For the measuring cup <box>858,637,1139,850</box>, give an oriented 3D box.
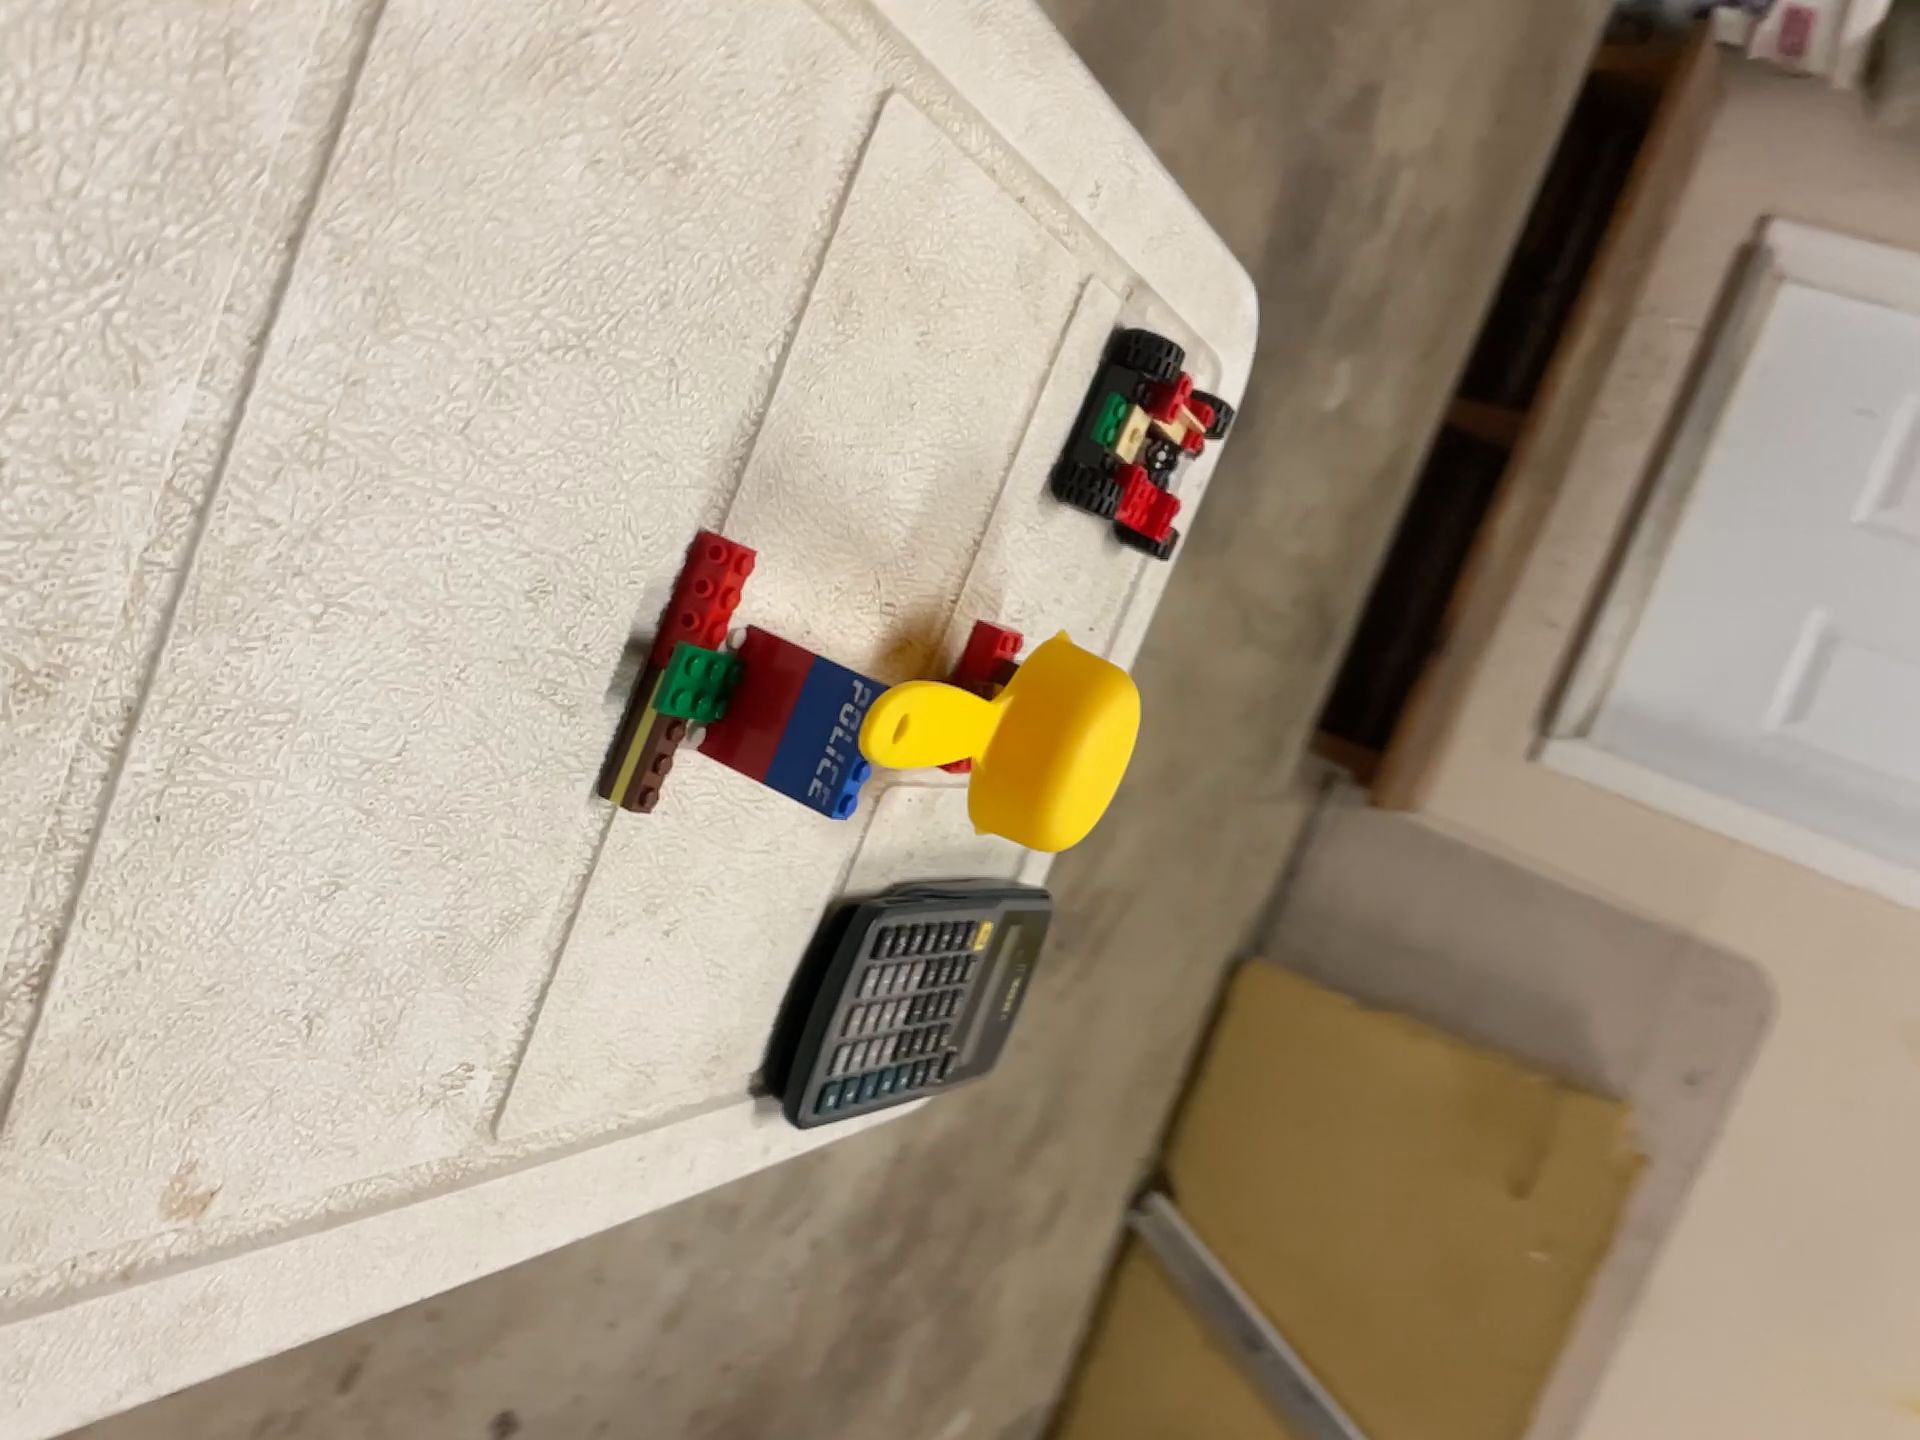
[{"bbox_3d":[0.014,0.008,0.412,0.062,0.029,0.156,-68,162,5],"label":"measuring cup"}]
